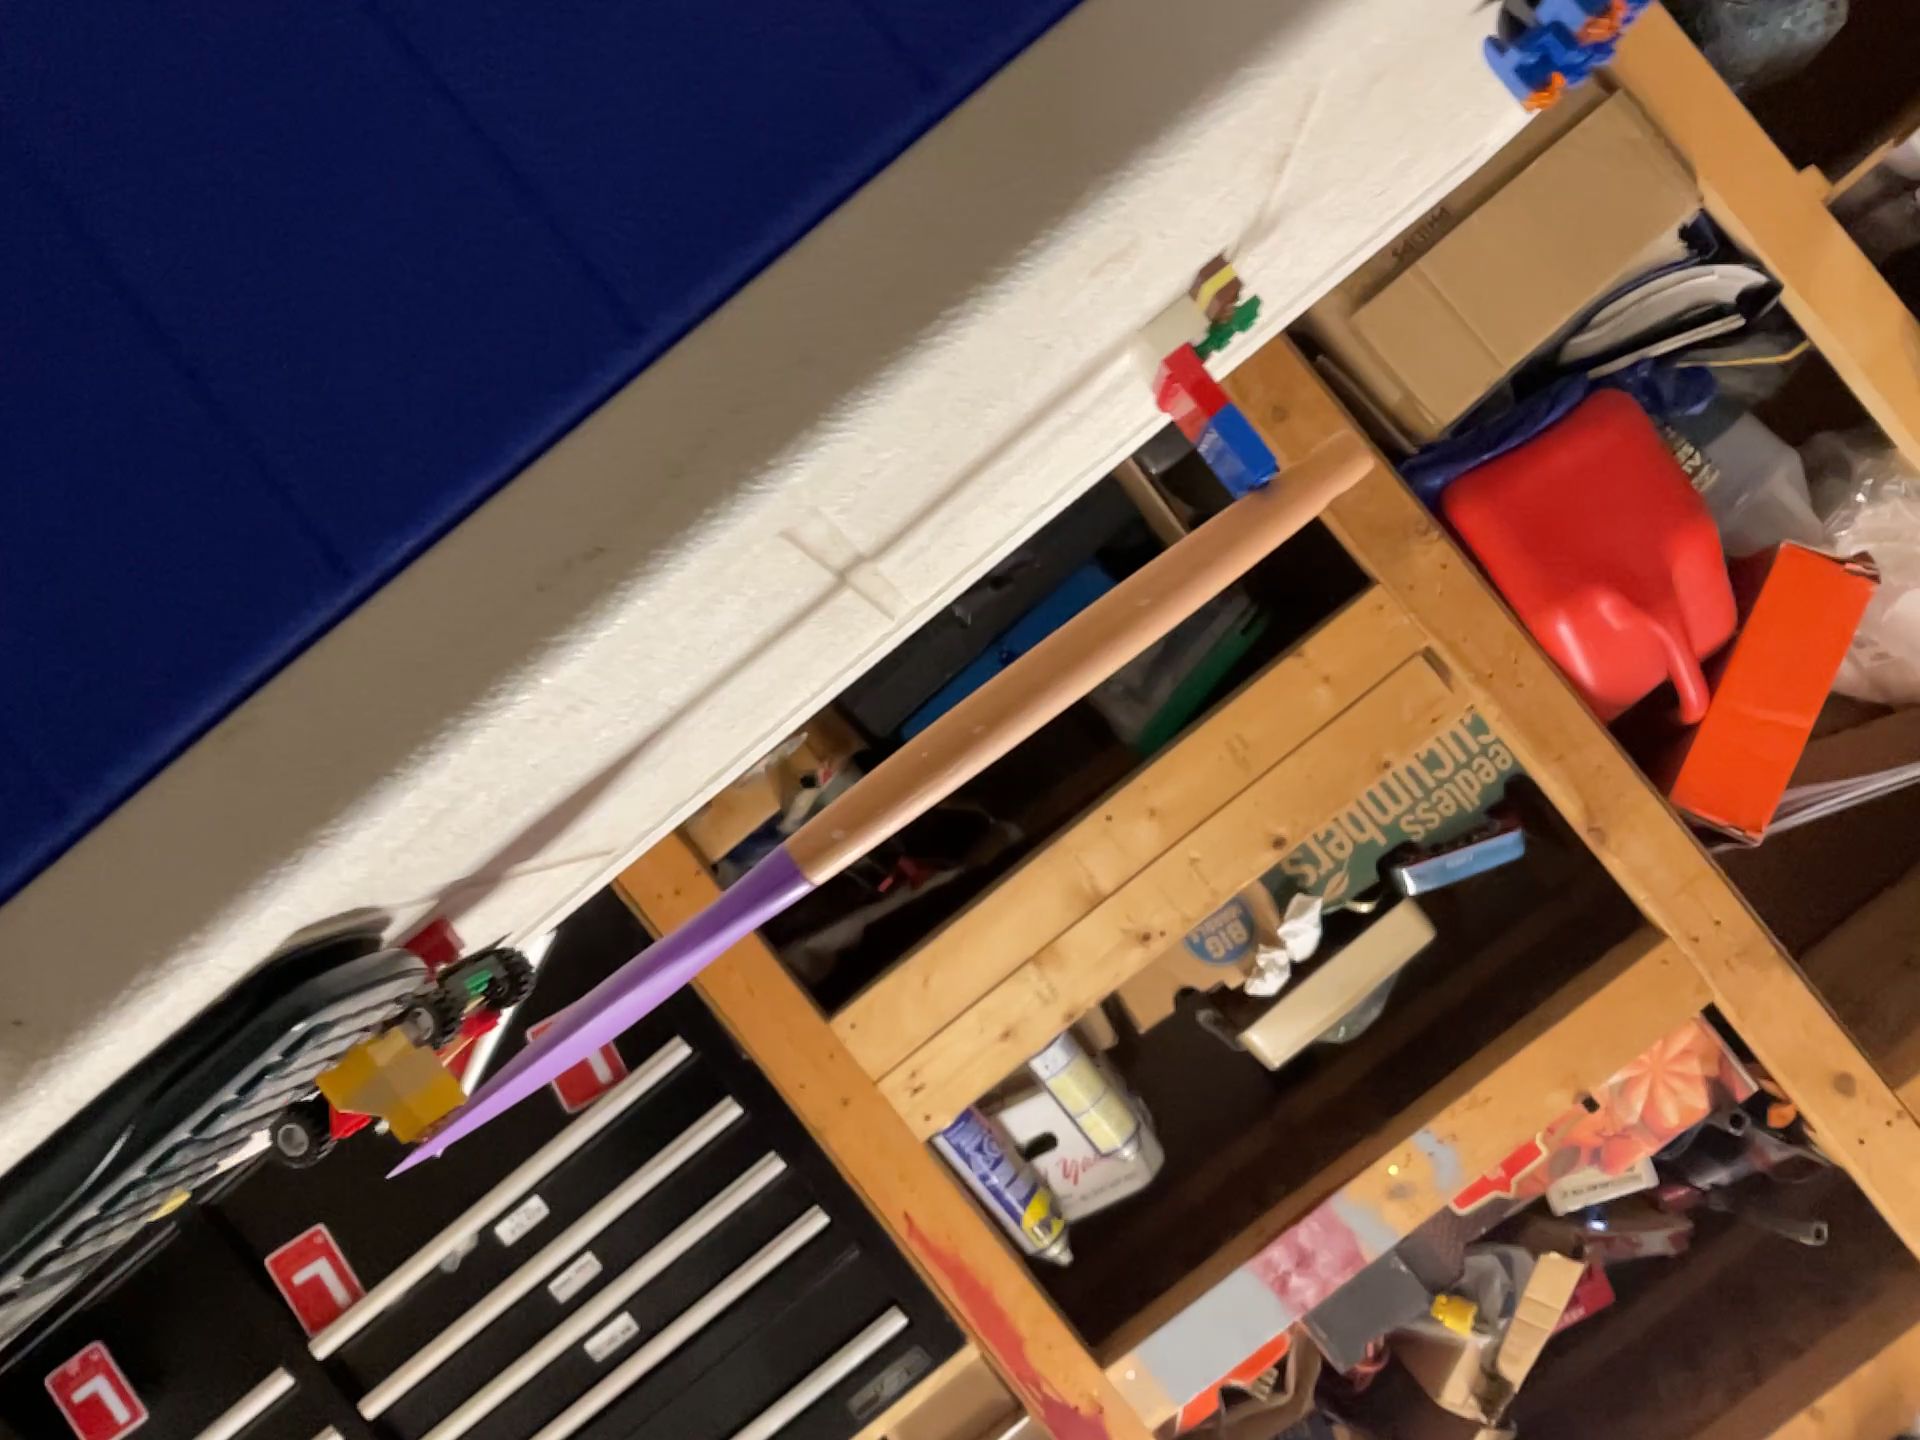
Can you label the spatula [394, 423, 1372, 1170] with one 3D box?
[{"bbox_3d":[-0.021,0.022,0.427,0.316,0.018,0.060,-37,177,3],"label":"spatula"}]
